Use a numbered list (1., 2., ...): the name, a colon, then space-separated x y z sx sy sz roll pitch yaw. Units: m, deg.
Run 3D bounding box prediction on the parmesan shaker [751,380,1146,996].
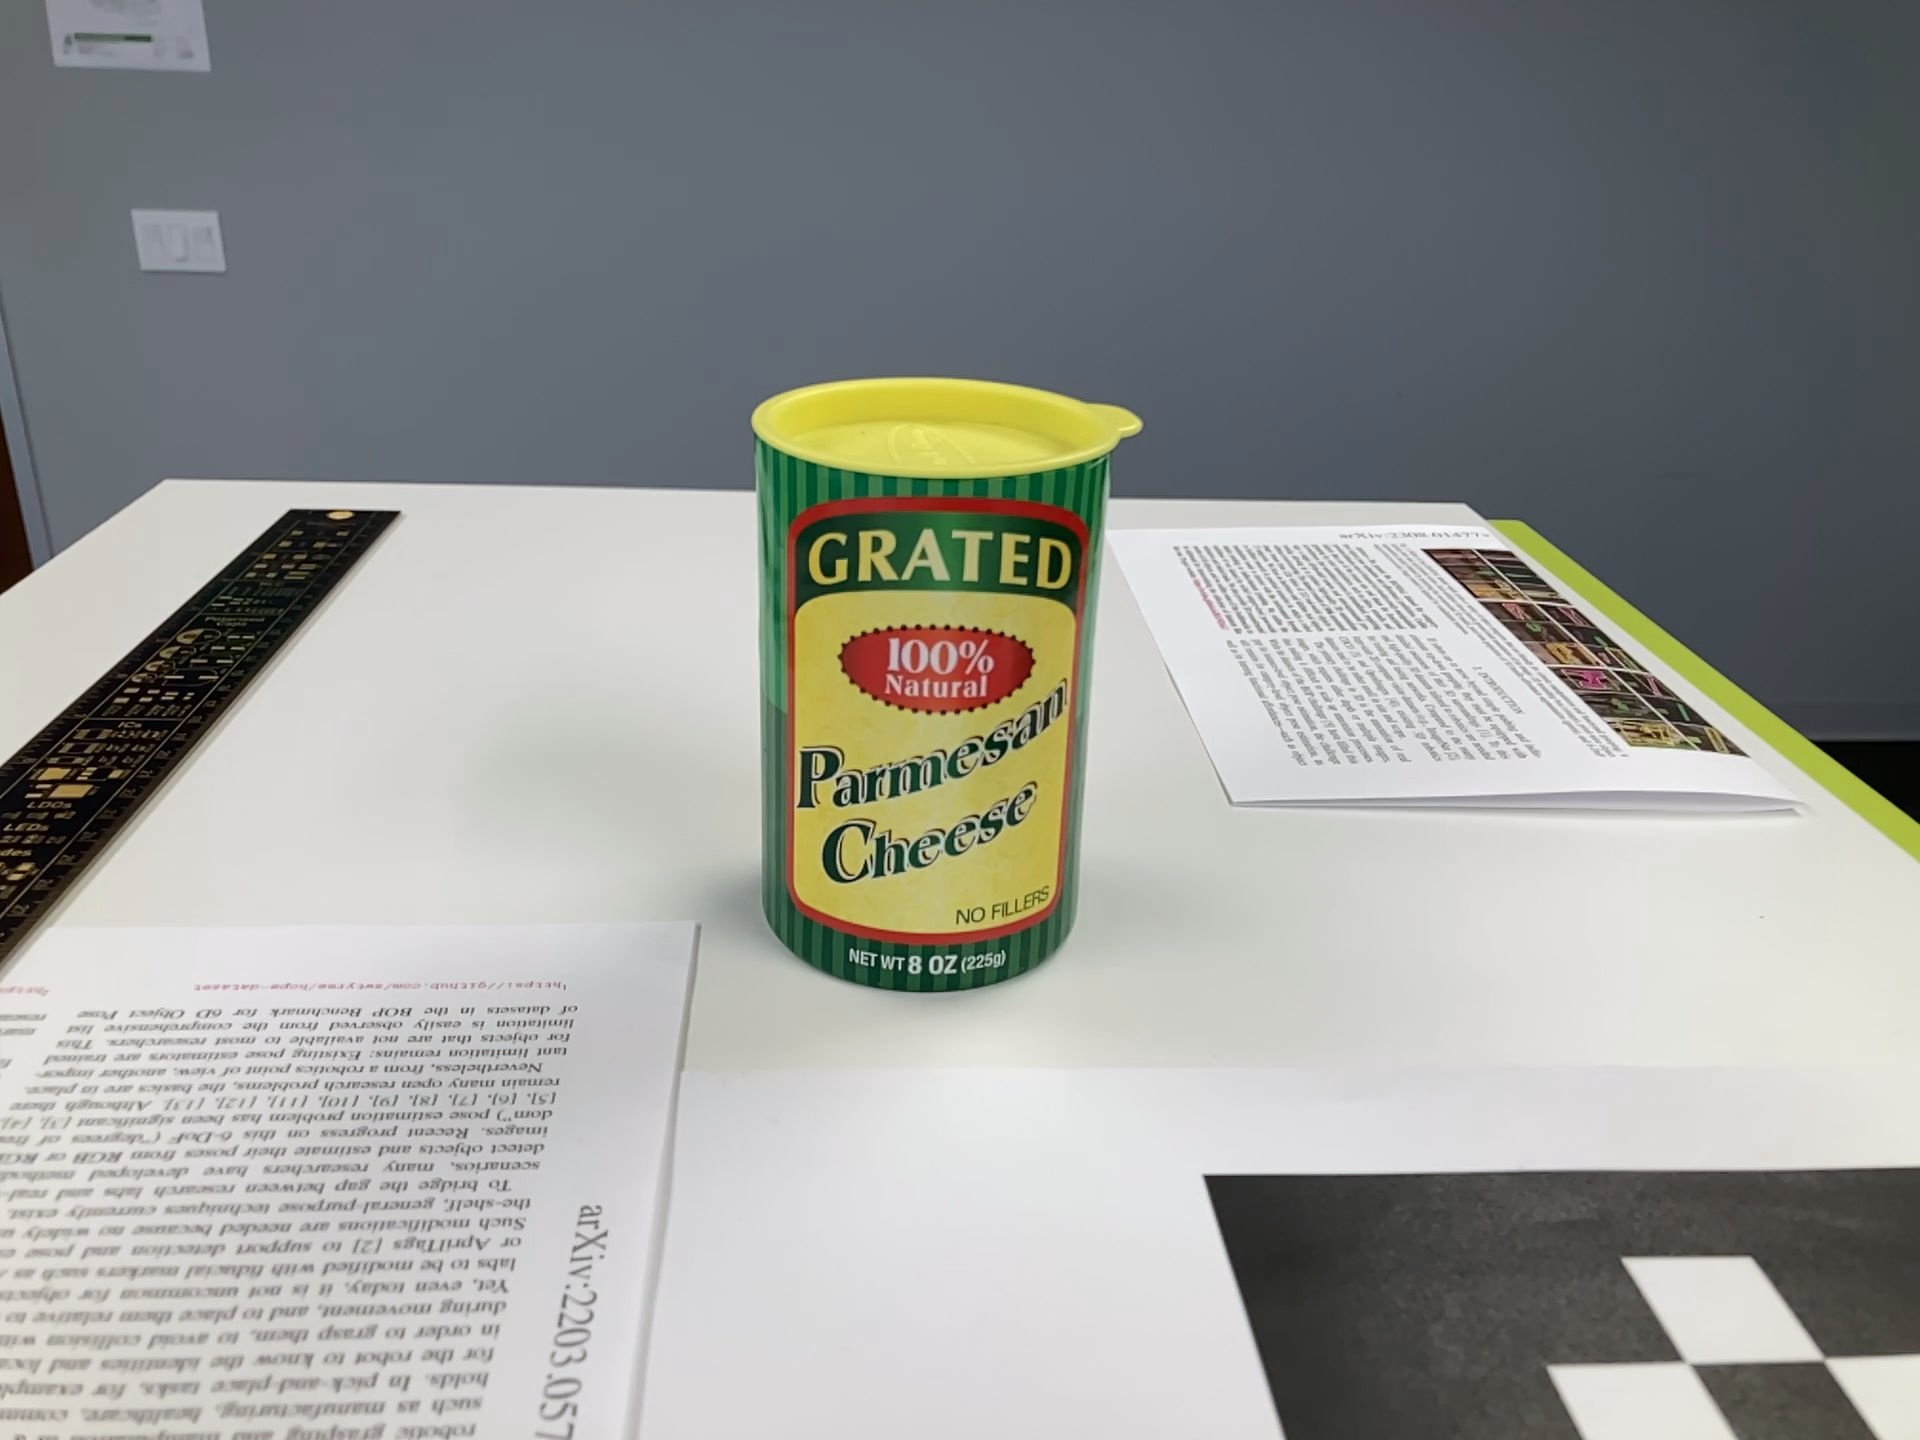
1. parmesan shaker: -0.003 -0.007 0.305 0.071 0.103 0.071 2 24 -1
